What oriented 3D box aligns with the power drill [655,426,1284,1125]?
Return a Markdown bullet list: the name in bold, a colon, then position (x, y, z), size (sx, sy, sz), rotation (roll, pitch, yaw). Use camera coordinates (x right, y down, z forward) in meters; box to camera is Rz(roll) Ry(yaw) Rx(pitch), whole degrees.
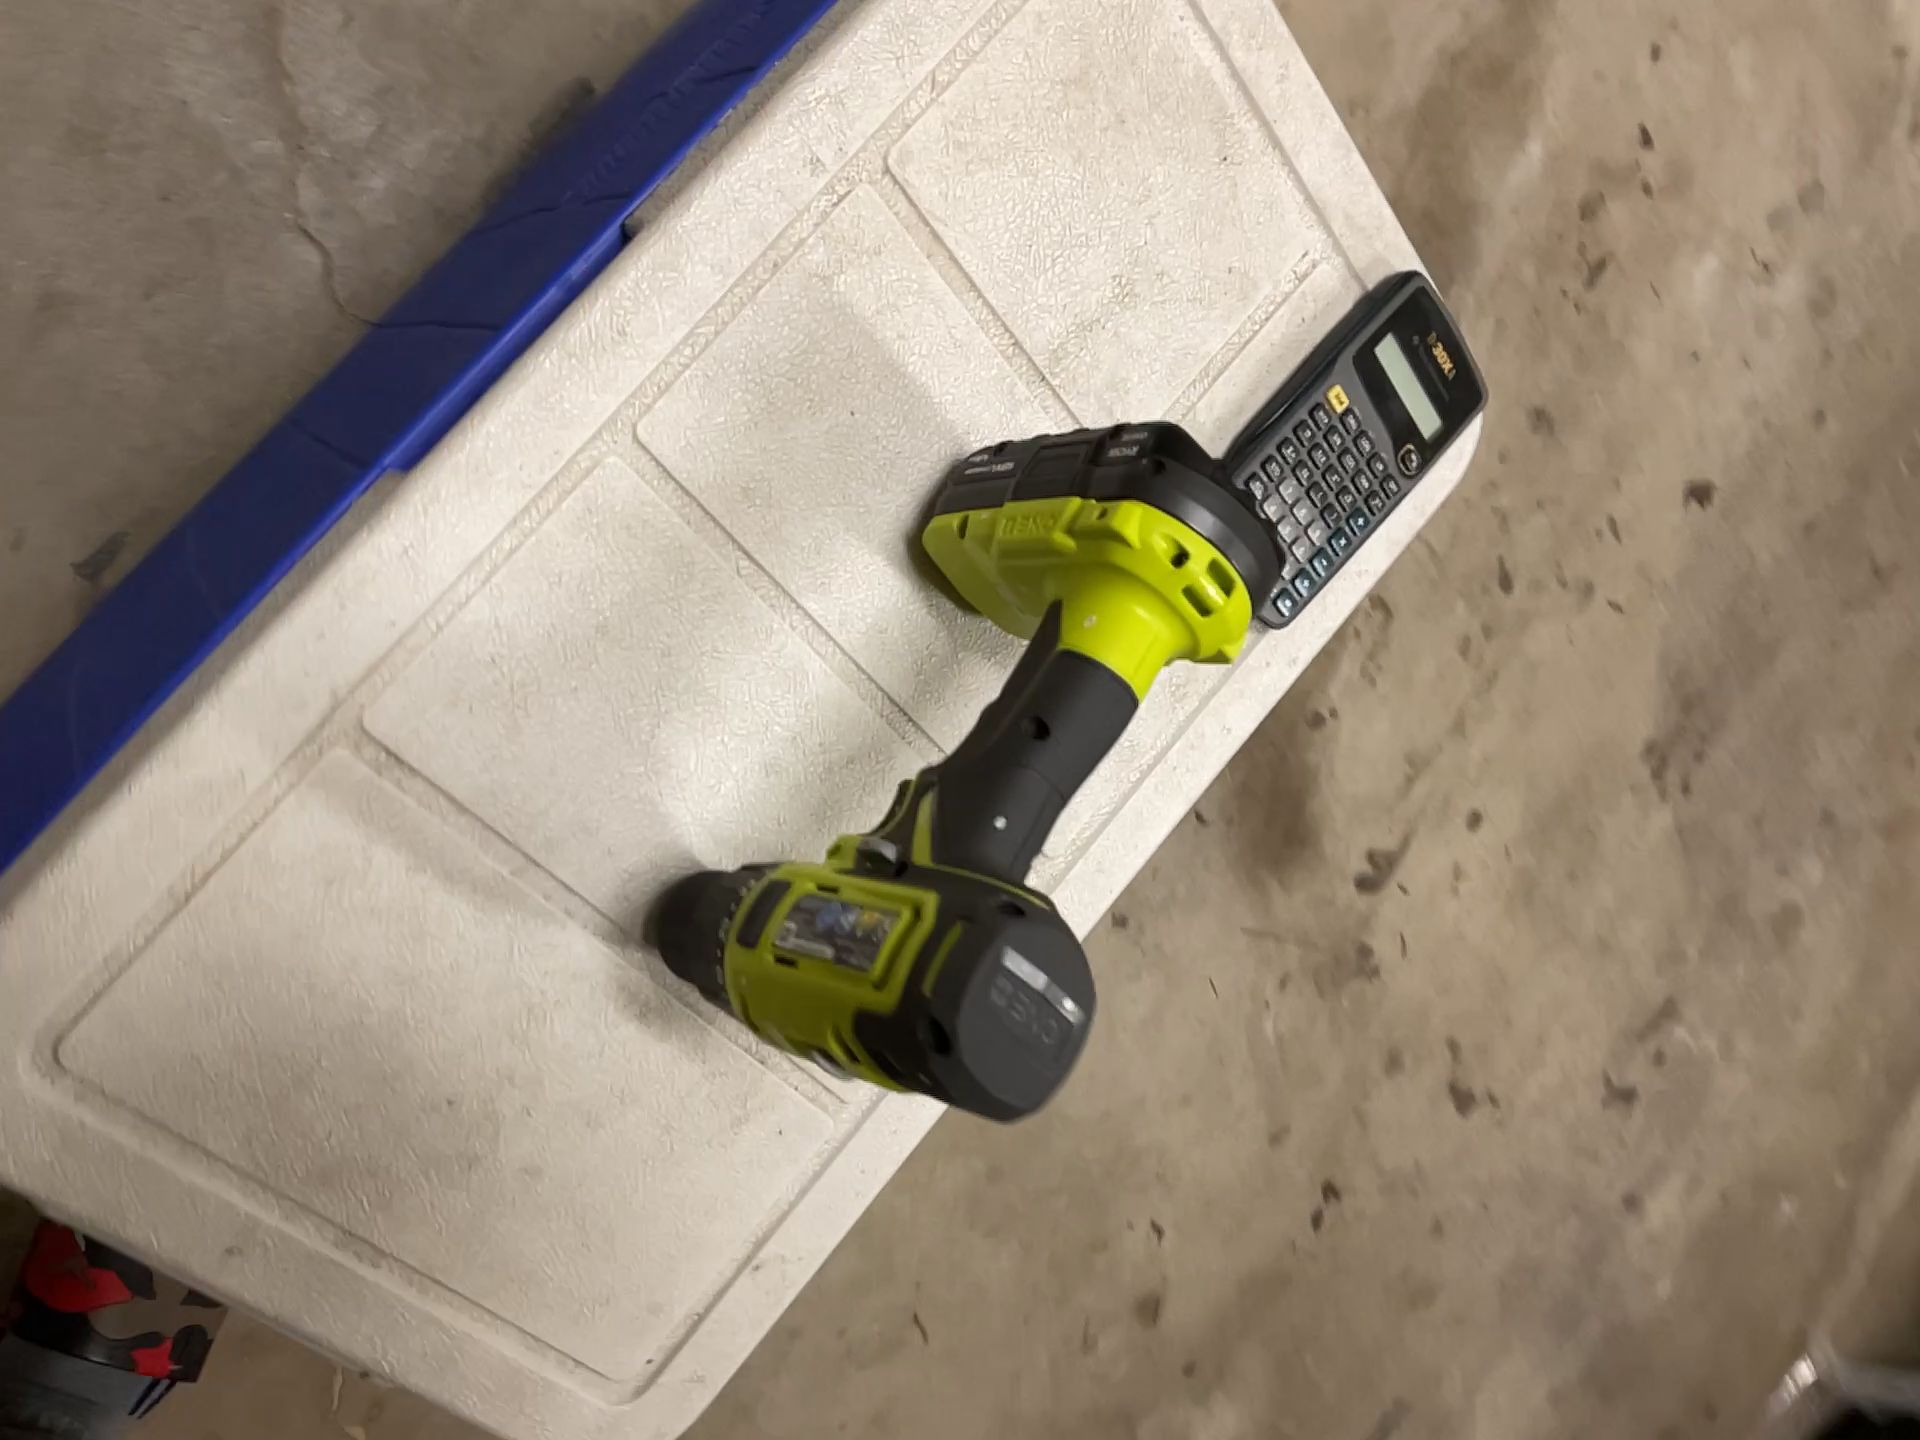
- **power drill**: position (-0.004, 0.014, 0.549), size (0.080, 0.190, 0.229), rotation (44, 66, -33)
